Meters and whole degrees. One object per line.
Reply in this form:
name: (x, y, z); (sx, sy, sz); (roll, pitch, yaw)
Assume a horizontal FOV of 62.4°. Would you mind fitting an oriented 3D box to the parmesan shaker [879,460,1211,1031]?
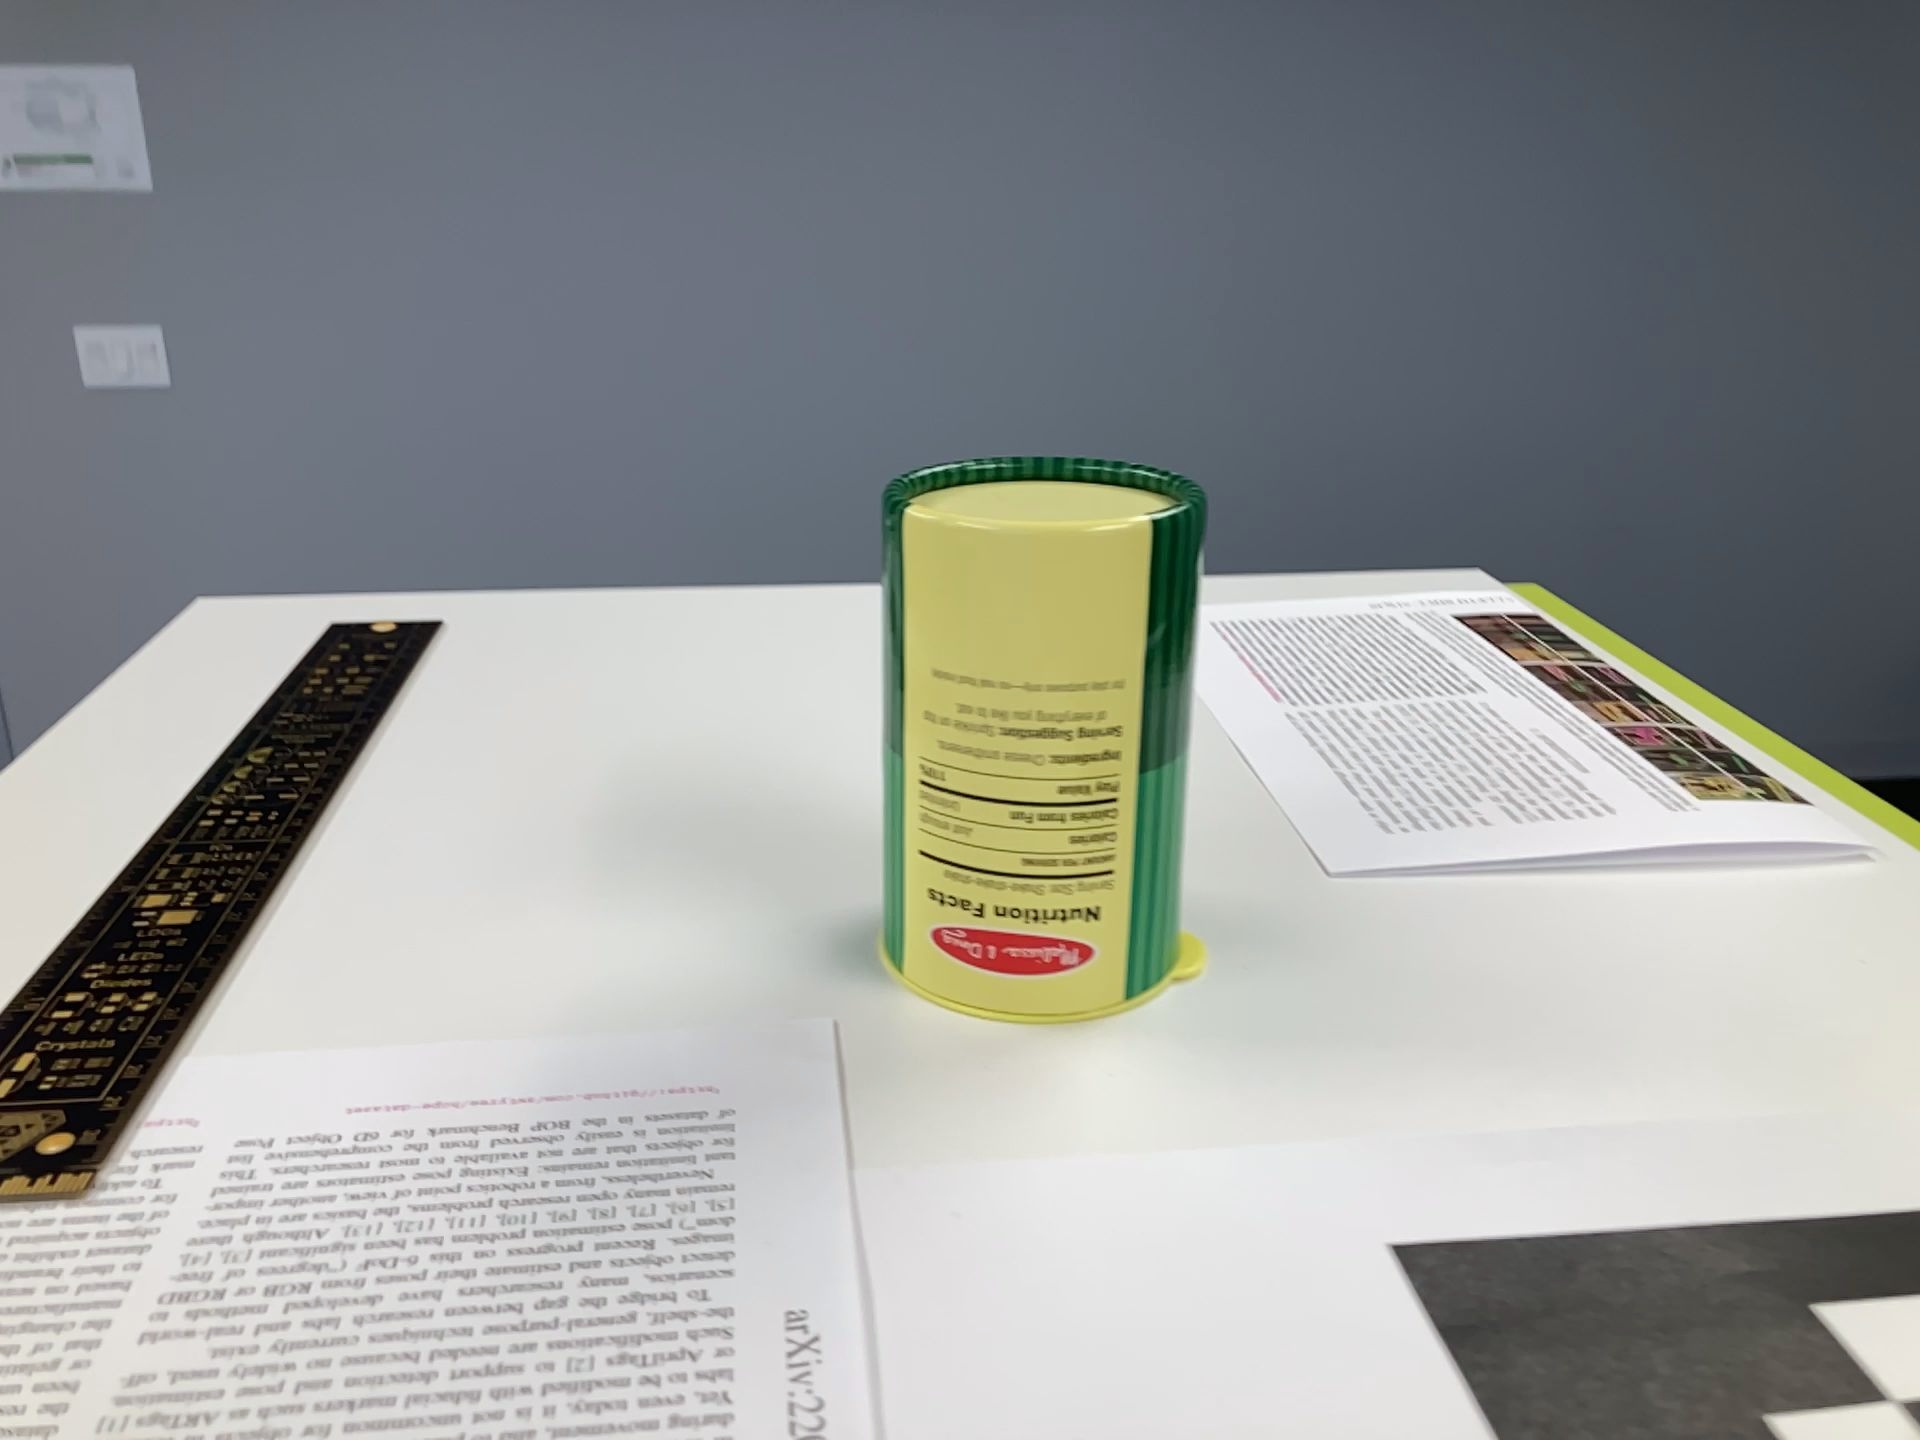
parmesan shaker: (0.019, 0.003, 0.329); (0.071, 0.103, 0.071); (1, 20, 0)
